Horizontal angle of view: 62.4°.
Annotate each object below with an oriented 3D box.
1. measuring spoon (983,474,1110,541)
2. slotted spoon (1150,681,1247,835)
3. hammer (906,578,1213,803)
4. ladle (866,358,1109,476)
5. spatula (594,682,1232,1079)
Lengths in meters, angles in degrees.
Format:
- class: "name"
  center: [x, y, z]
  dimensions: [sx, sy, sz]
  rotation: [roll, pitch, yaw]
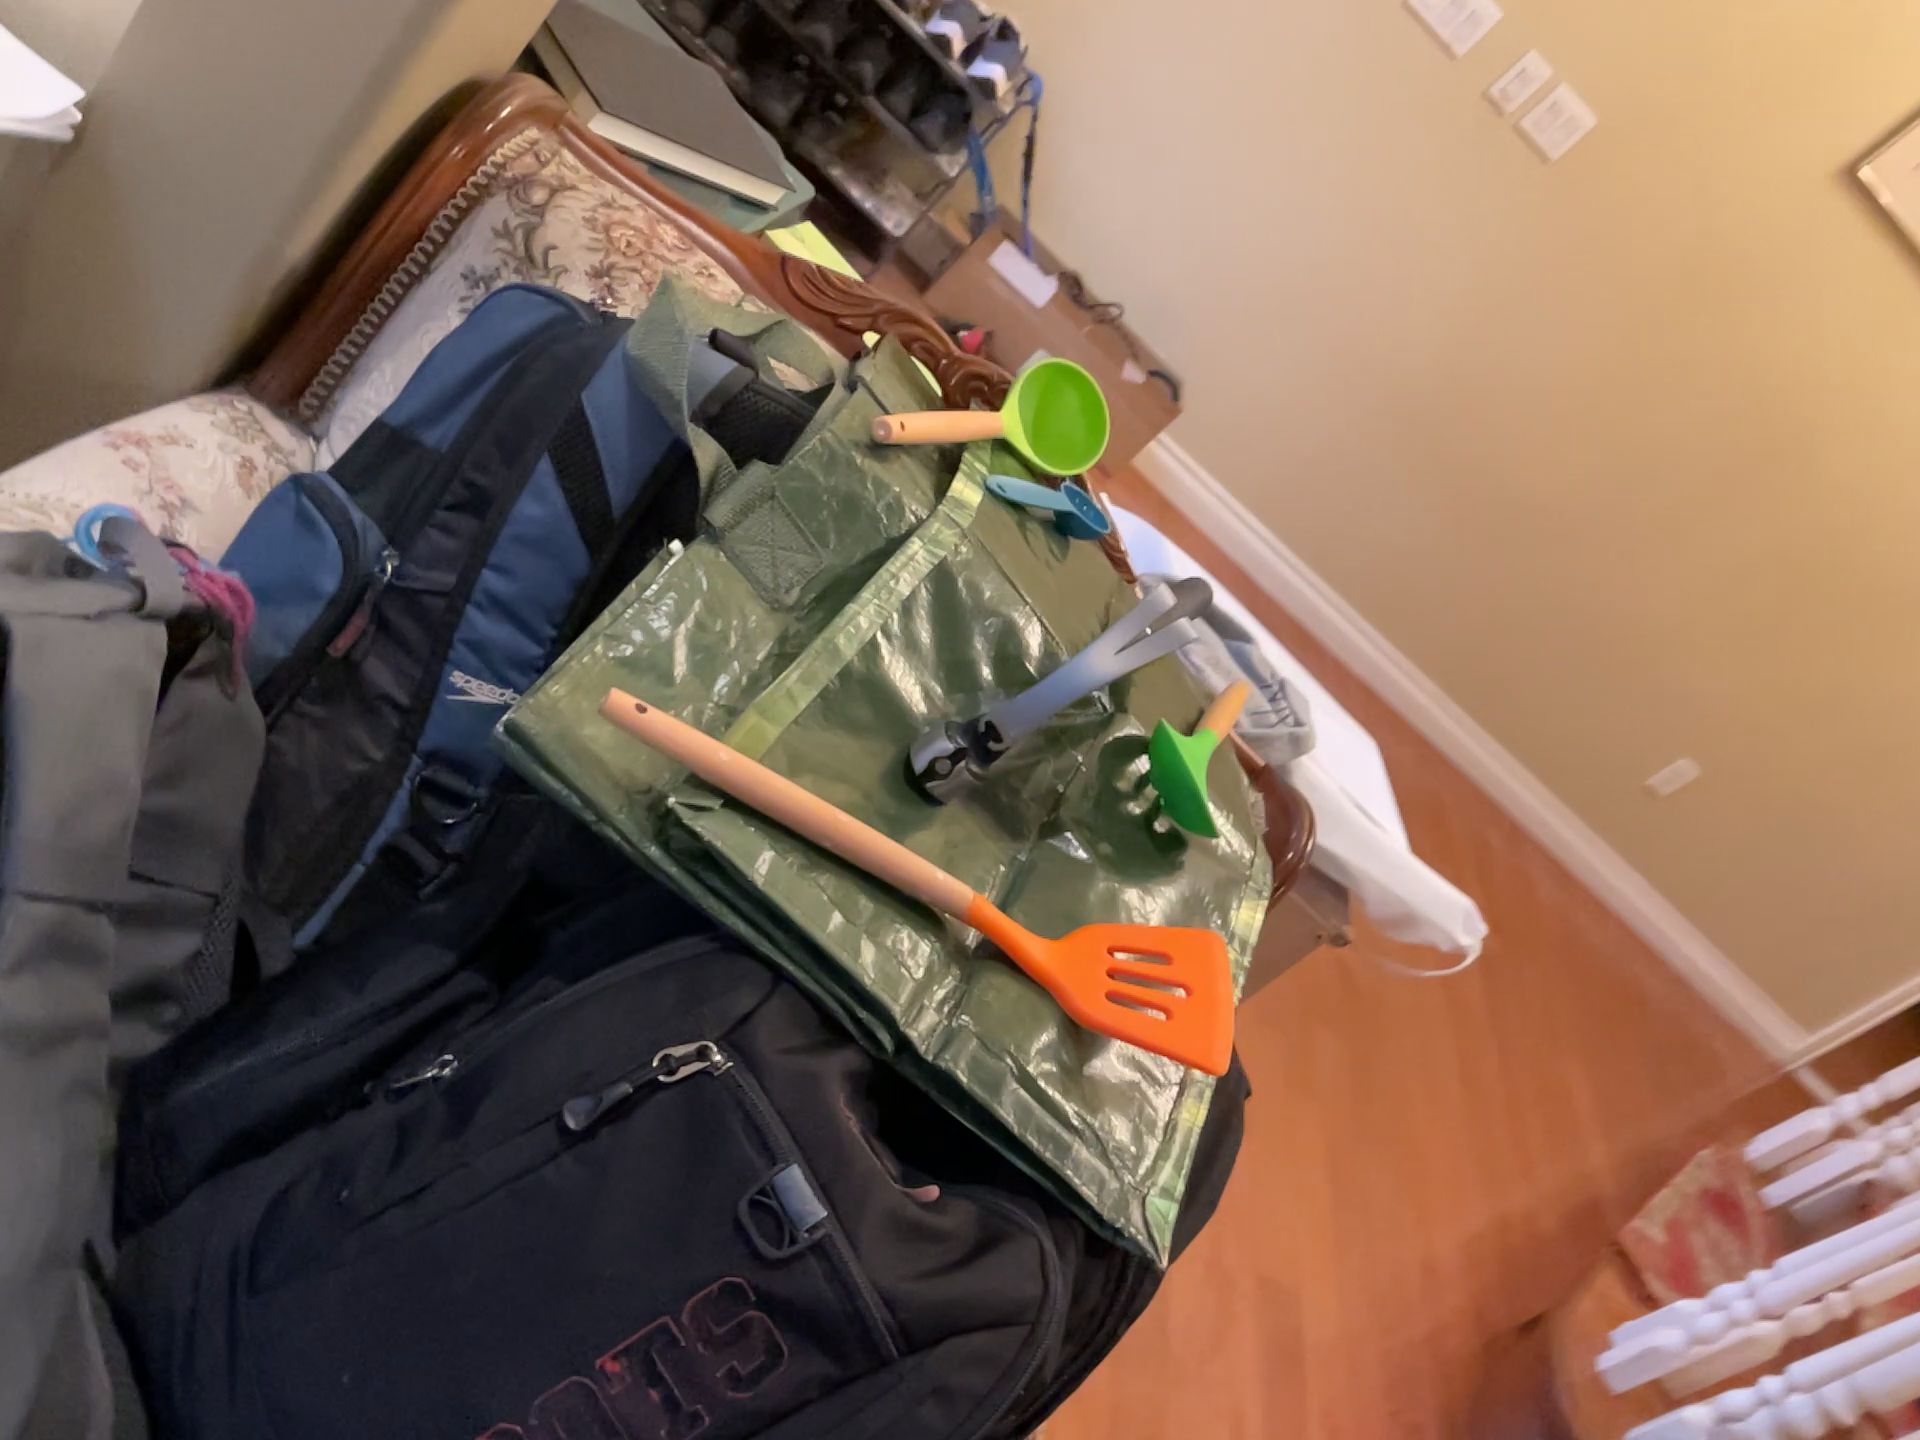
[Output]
- class: "measuring spoon"
  center: [0.046, -0.126, 0.946]
  dimensions: [0.128, 0.021, 0.042]
  rotation: [3, 49, -54]
- class: "slotted spoon"
  center: [0.151, 0.009, 0.951]
  dimensions: [0.070, 0.031, 0.313]
  rotation: [63, 19, -3]
- class: "hammer"
  center: [0.099, -0.046, 0.918]
  dimensions: [0.036, 0.149, 0.409]
  rotation: [58, 22, 0]
- class: "ladle"
  center: [0.021, -0.176, 0.931]
  dimensions: [0.320, 0.062, 0.078]
  rotation: [-29, 104, -68]
- class: "spatula"
  center: [-0.013, 0.065, 0.693]
  dimensions: [0.322, 0.041, 0.081]
  rotation: [32, 40, -21]
